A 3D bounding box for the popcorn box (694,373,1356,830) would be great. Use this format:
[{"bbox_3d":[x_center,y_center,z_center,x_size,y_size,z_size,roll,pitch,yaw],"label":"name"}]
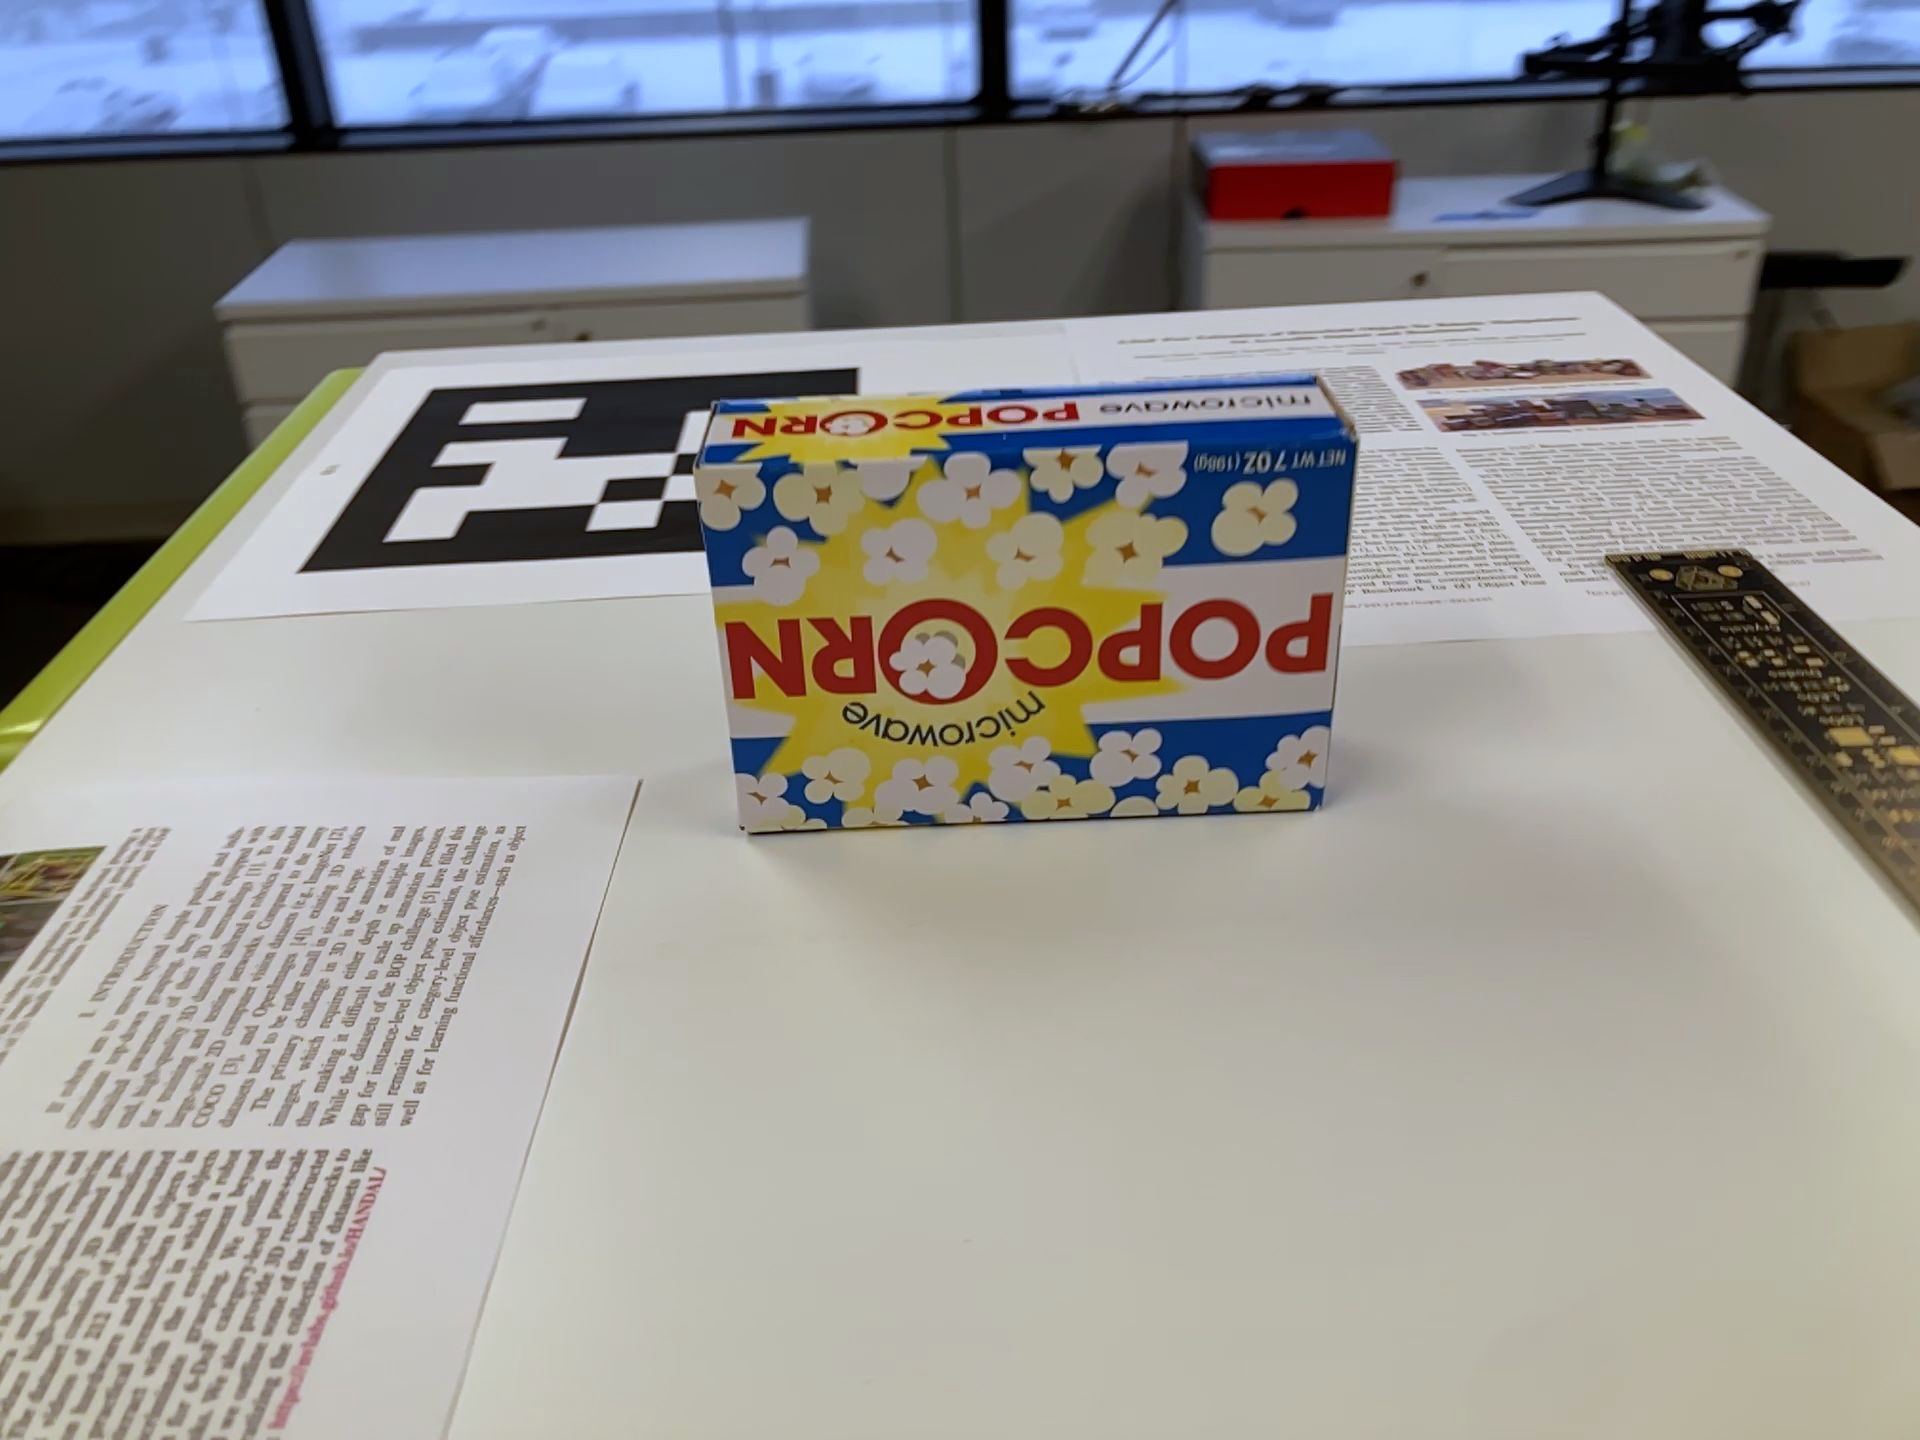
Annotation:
[{"bbox_3d":[0.013,-0.024,0.330,0.126,0.085,0.038,-2,31,0],"label":"popcorn box"}]
